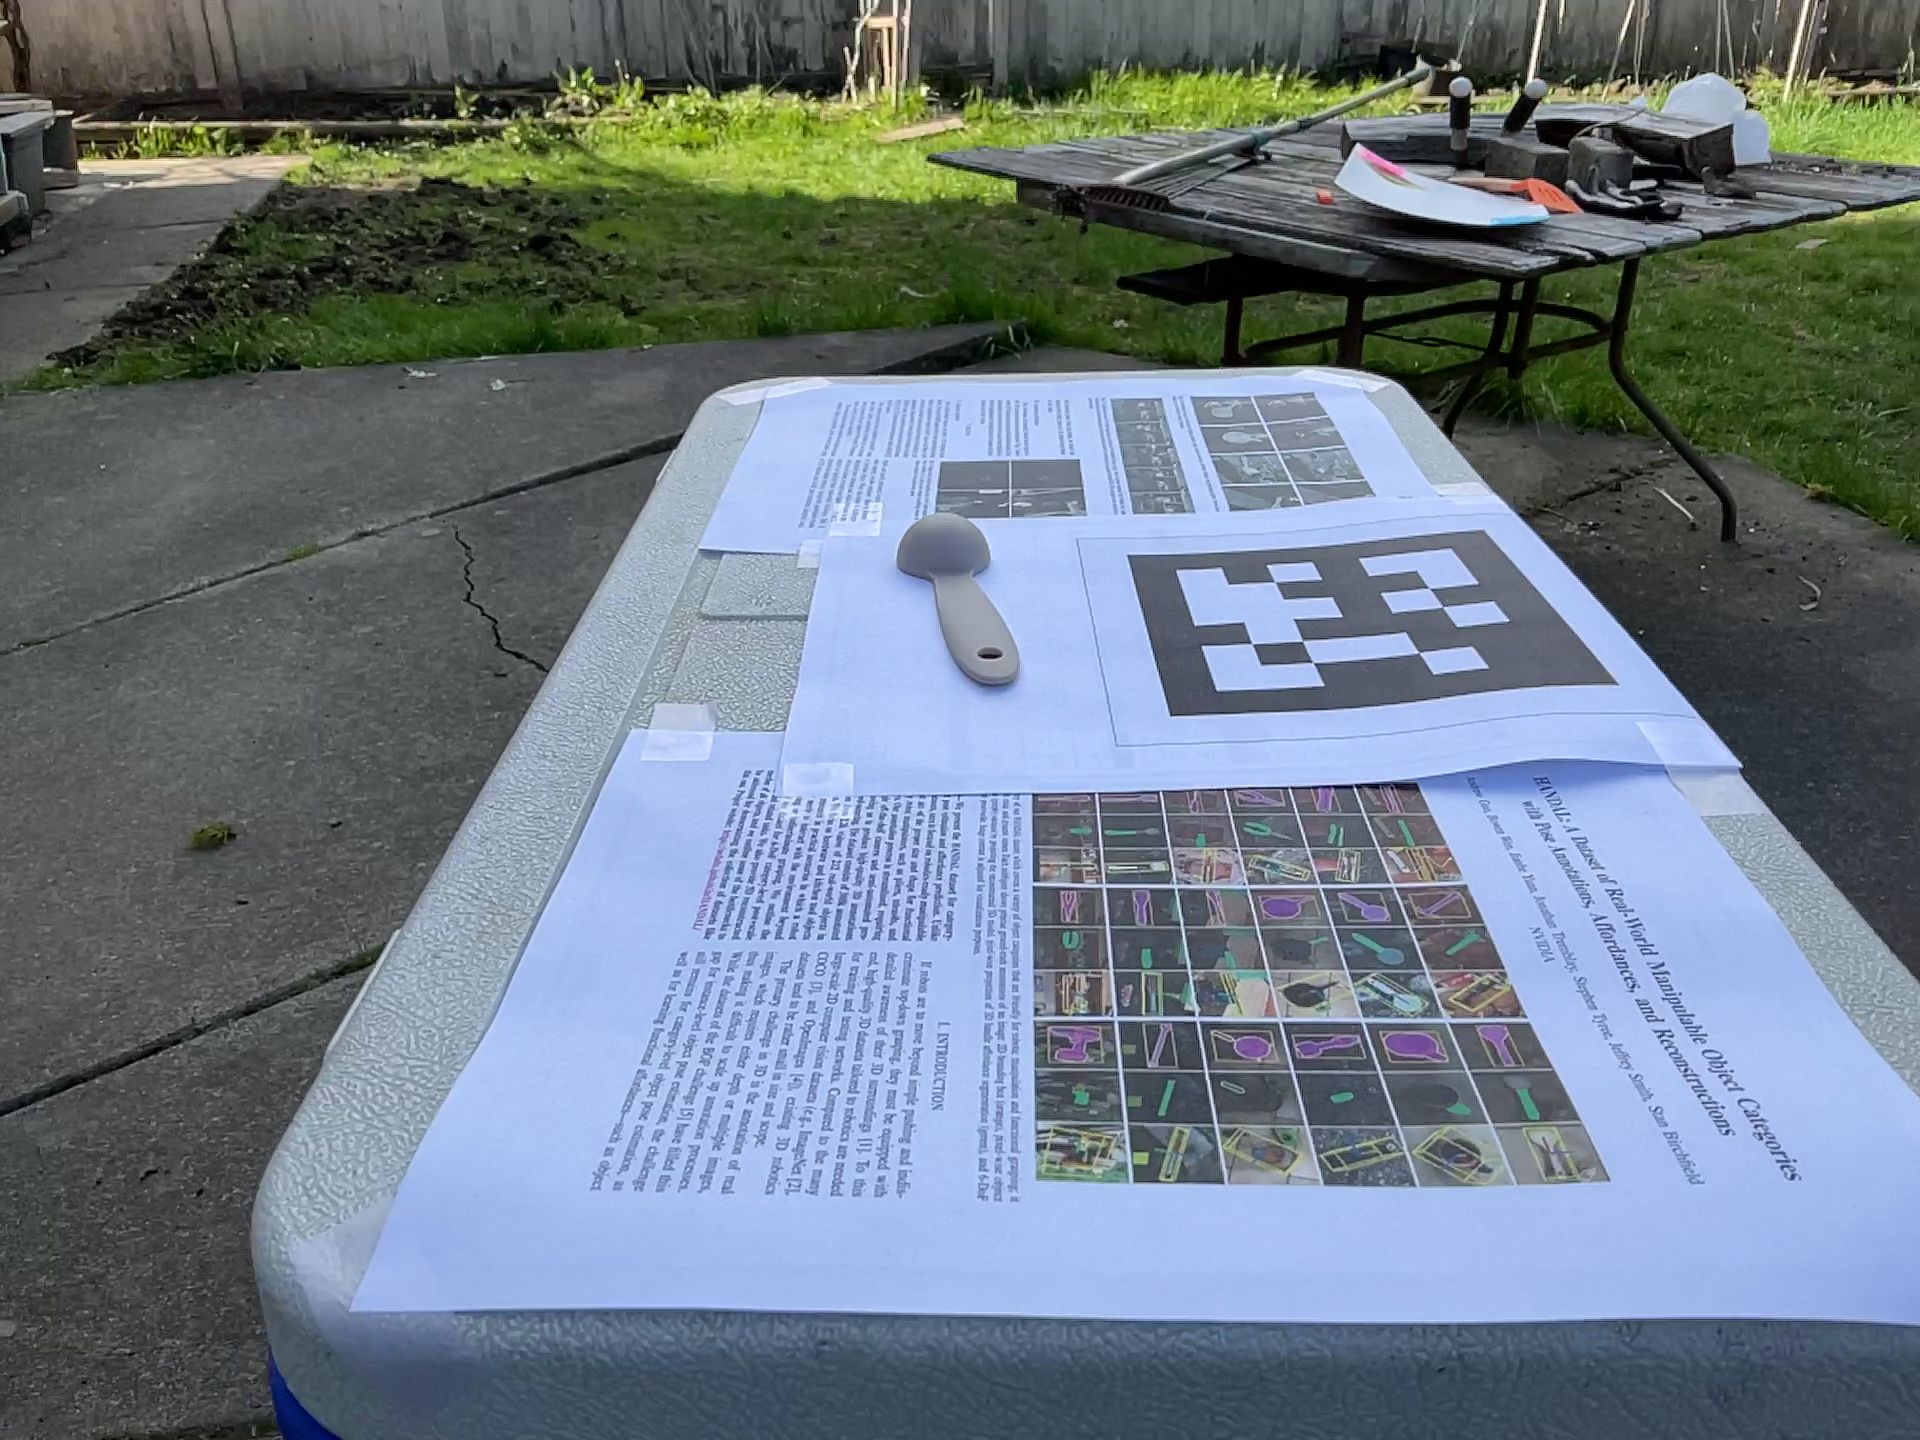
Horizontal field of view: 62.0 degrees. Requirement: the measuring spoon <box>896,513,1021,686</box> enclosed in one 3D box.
[{"bbox_3d":[0.002,-0.044,0.525,0.034,0.018,0.124,-5,27,-8],"label":"measuring spoon"}]
